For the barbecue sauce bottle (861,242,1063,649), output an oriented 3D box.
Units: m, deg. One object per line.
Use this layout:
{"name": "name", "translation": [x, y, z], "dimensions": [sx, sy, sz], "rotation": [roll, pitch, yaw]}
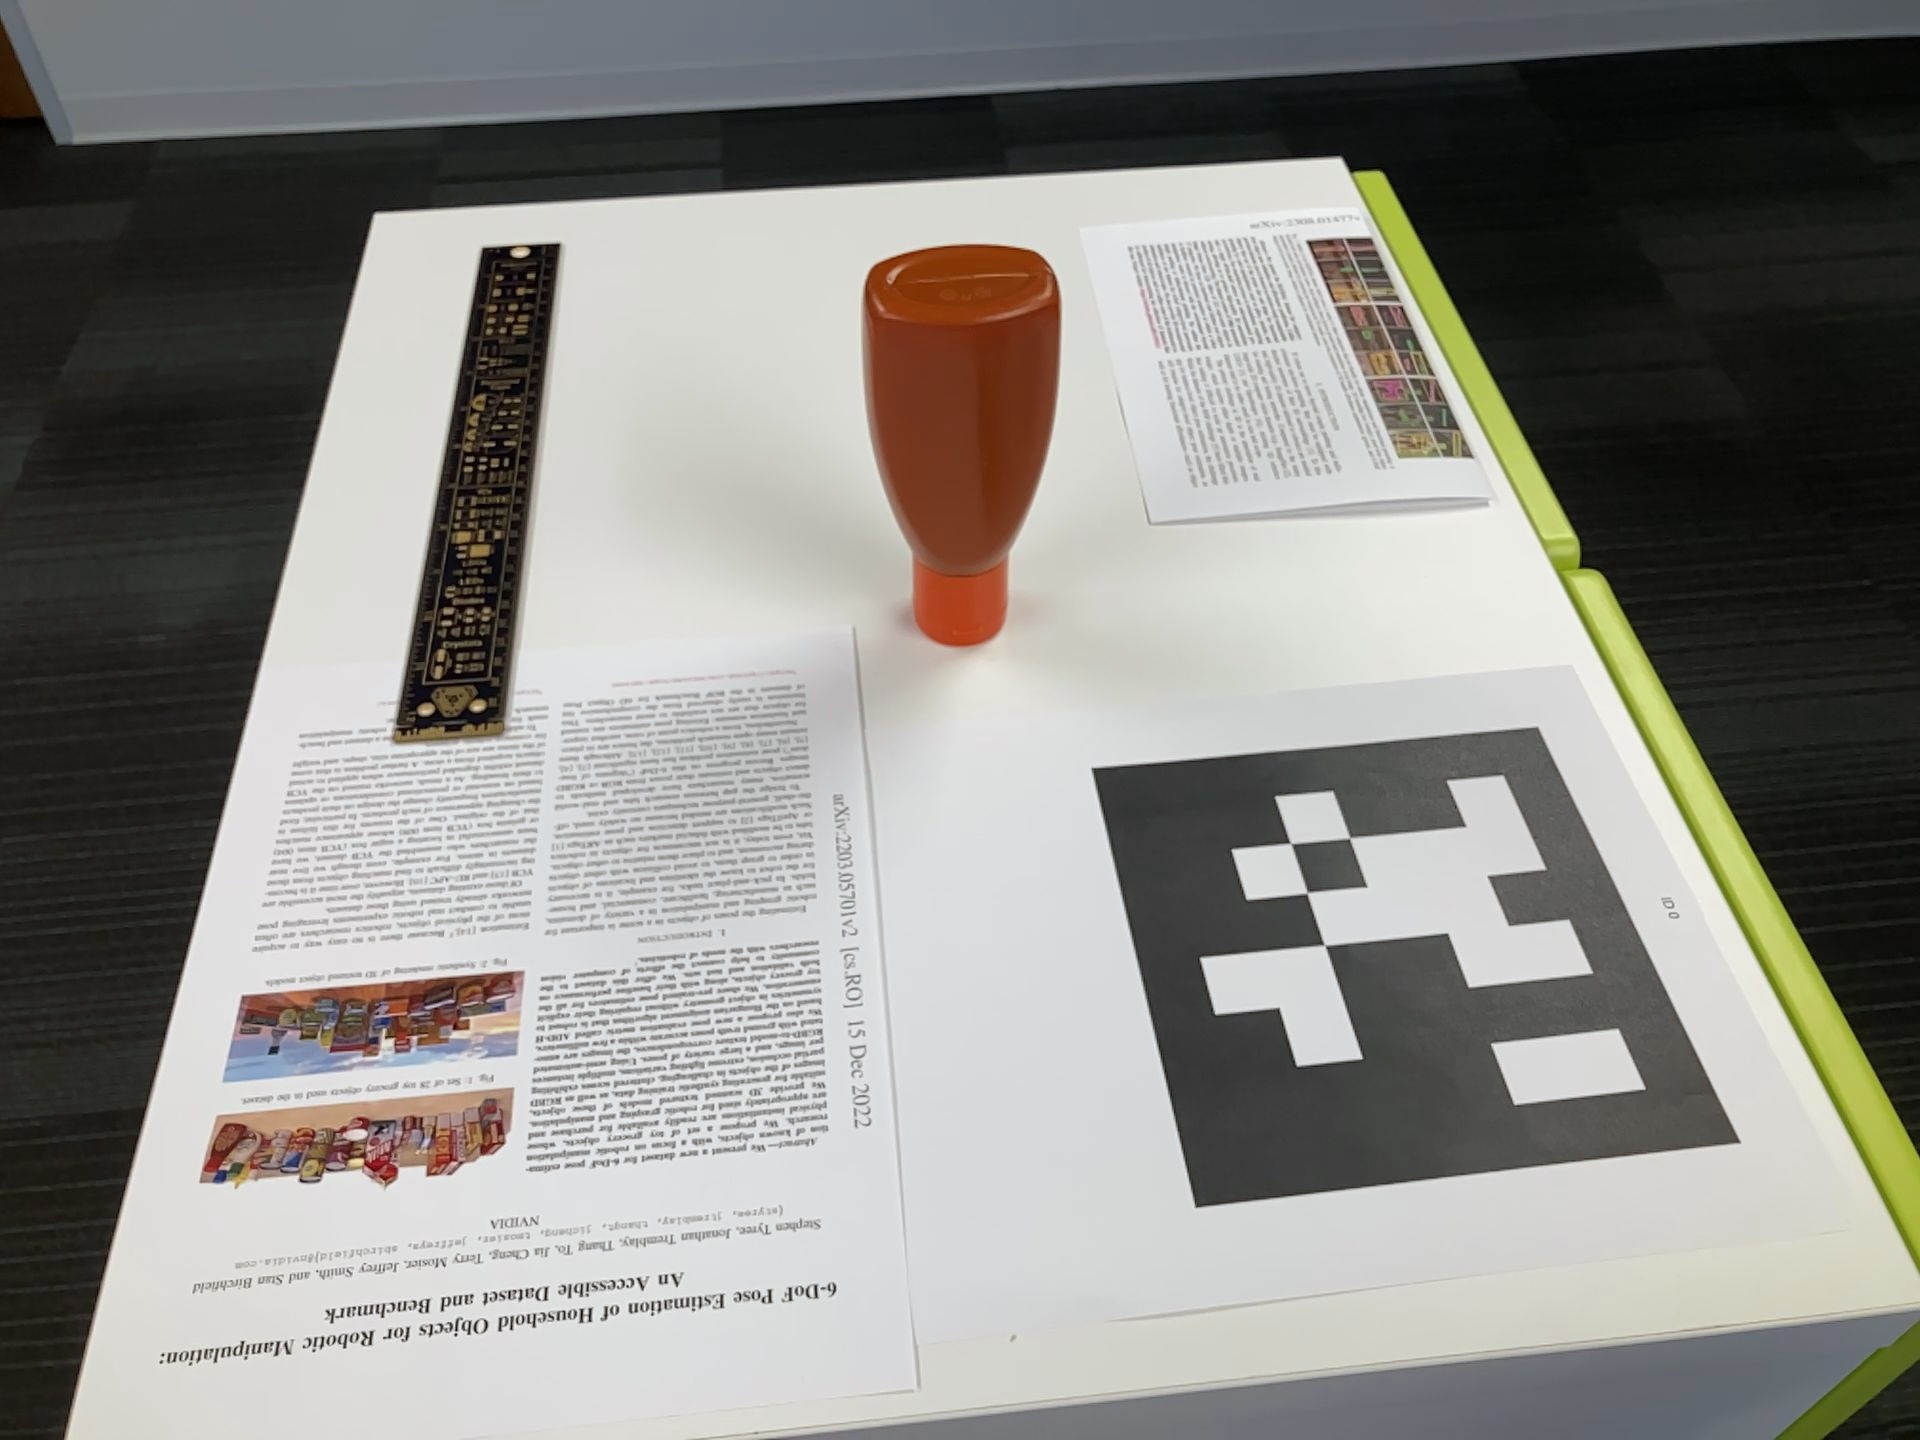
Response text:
{"name": "barbecue sauce bottle", "translation": [0.000, -0.088, 0.547], "dimensions": [0.065, 0.148, 0.043], "rotation": [-6, 48, -6]}
